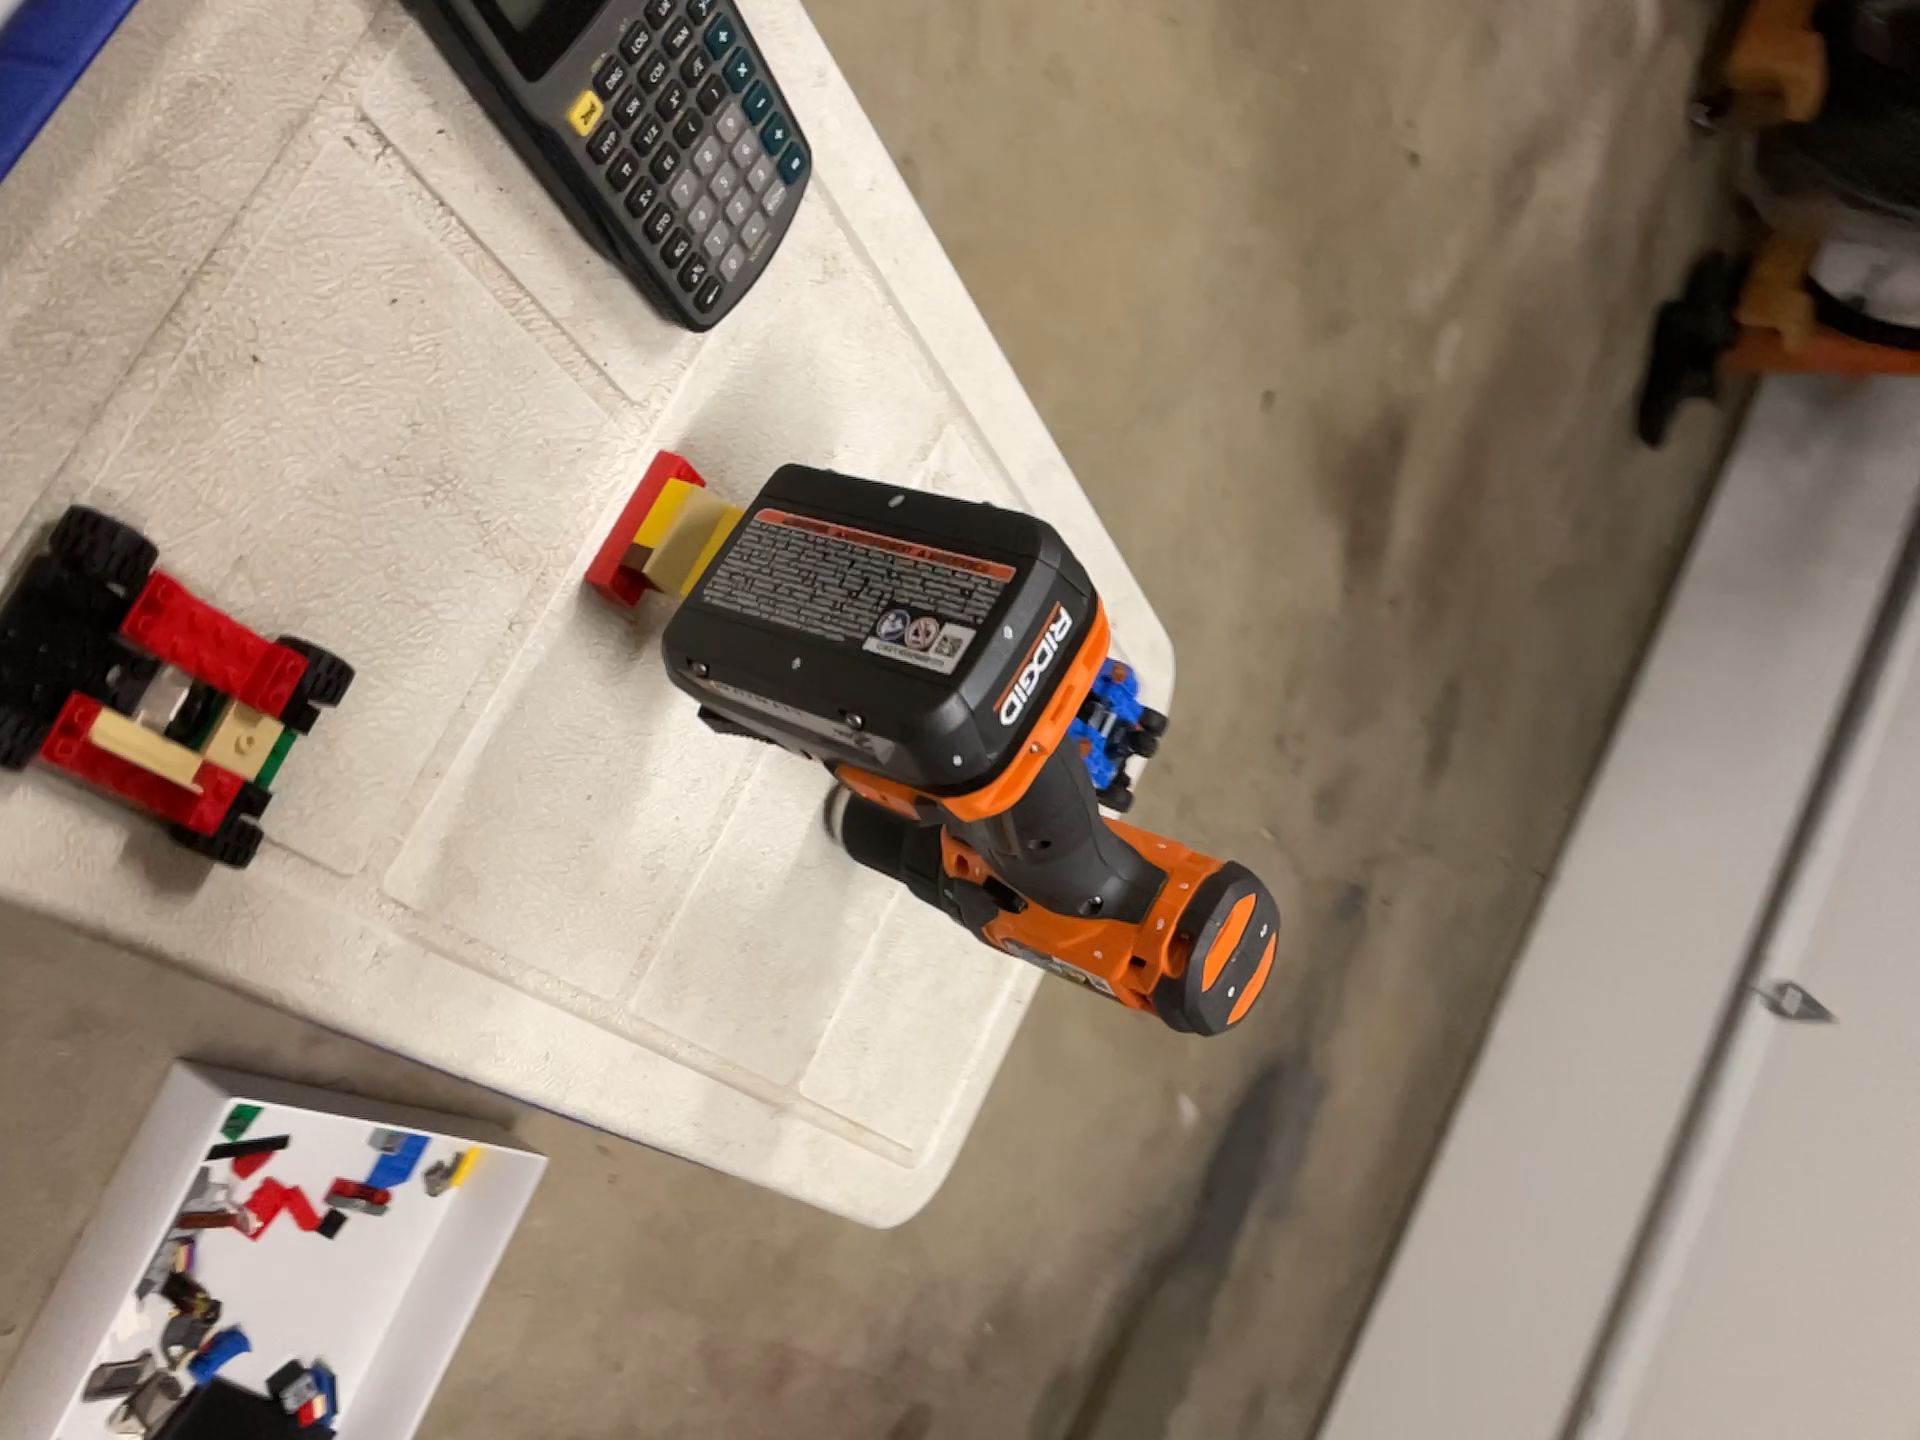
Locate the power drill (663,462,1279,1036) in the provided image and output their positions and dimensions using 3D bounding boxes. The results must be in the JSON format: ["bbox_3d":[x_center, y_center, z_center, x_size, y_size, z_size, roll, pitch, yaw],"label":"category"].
[{"bbox_3d":[-0.006,0.015,0.534,0.084,0.185,0.226,-58,142,-17],"label":"power drill"}]
